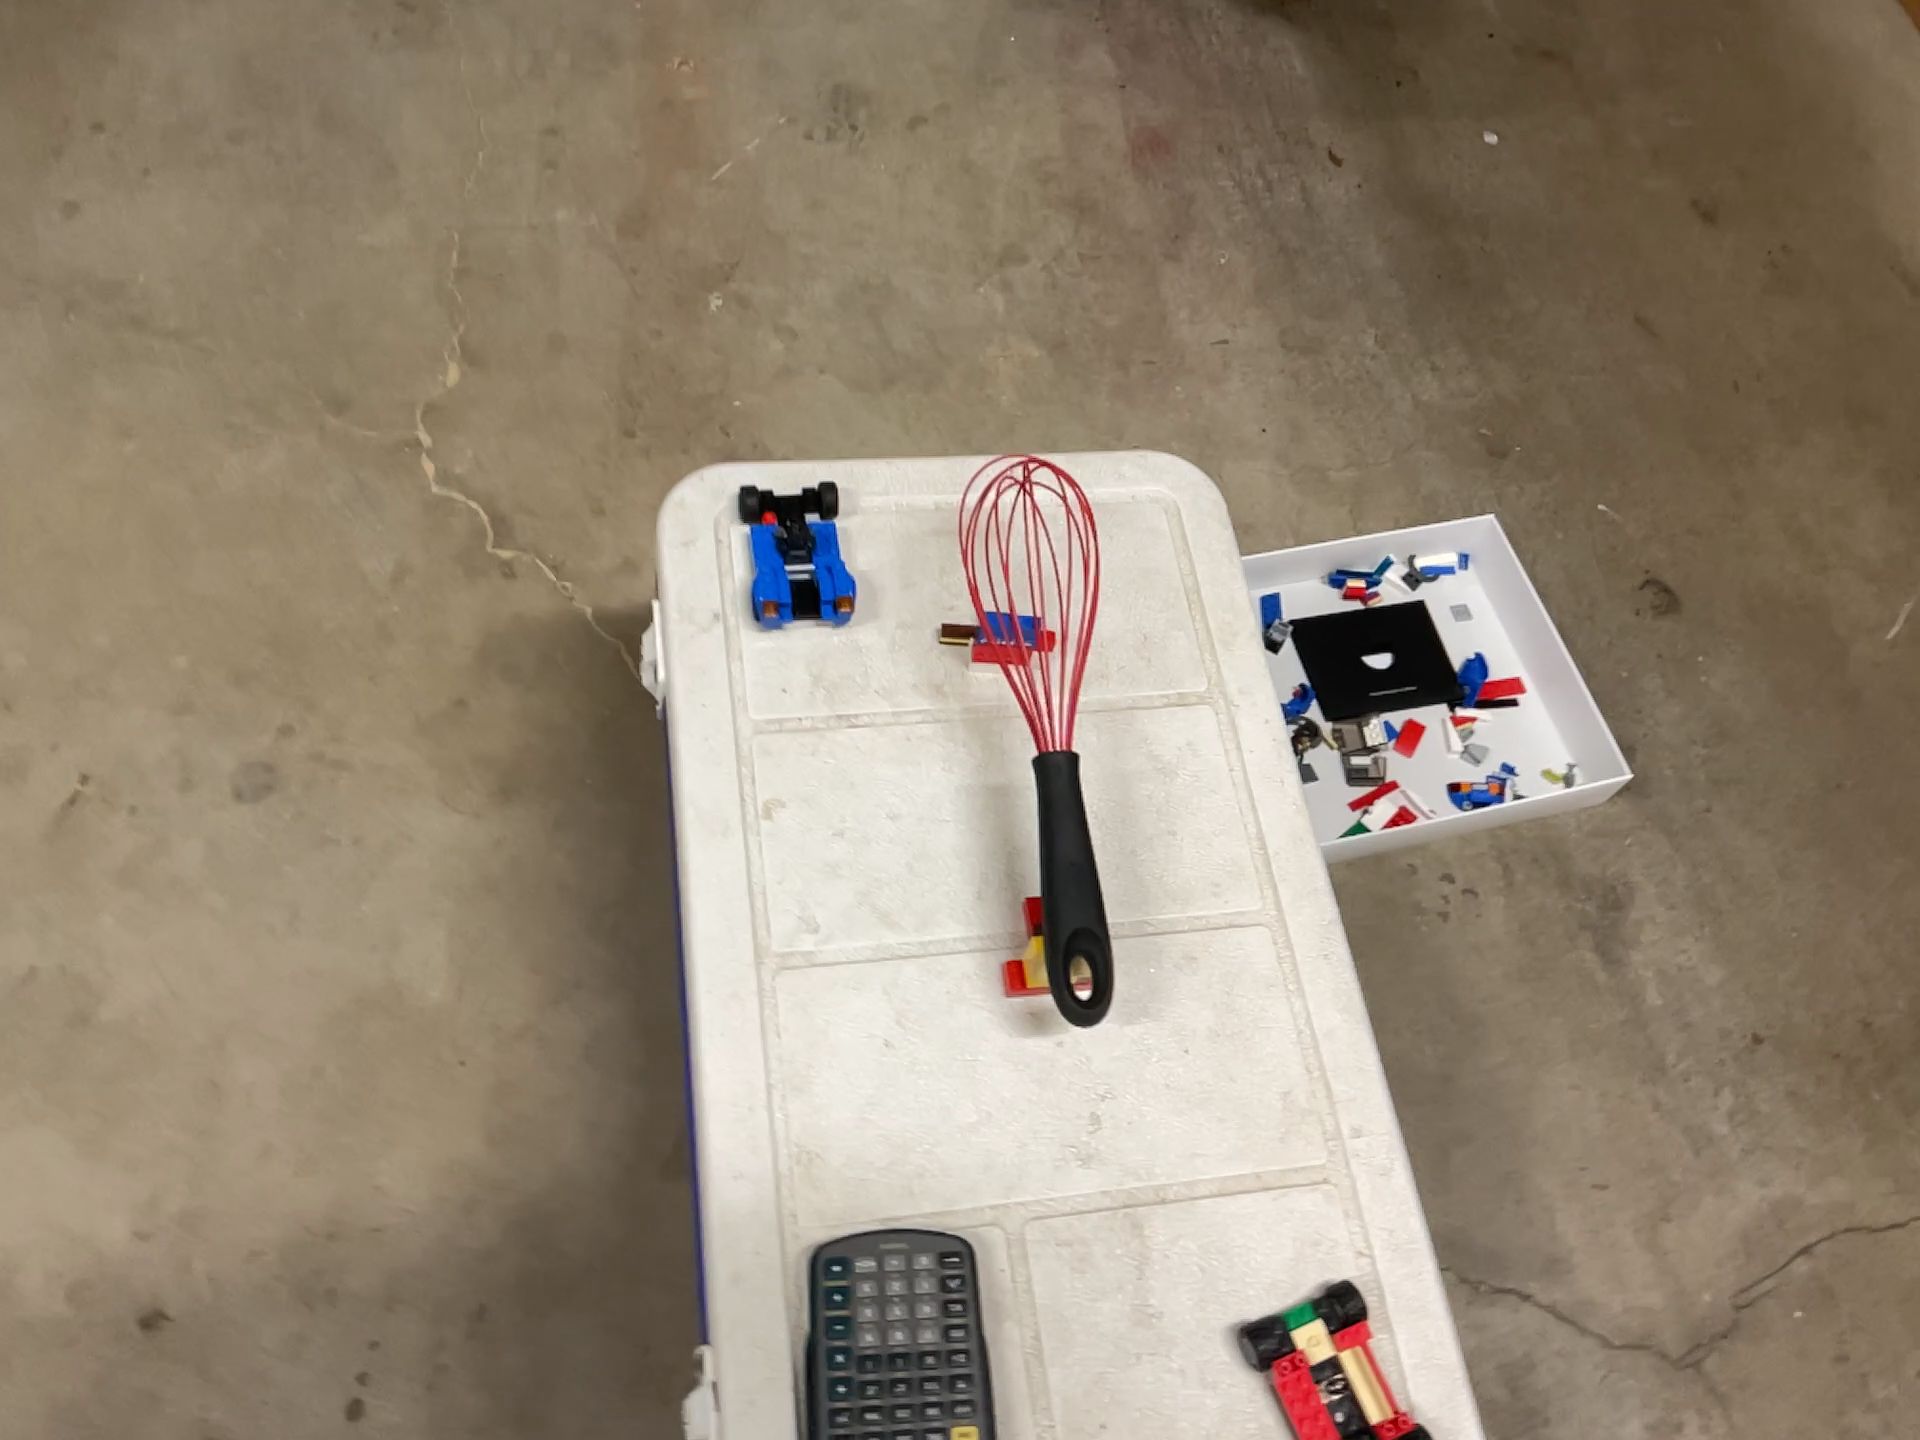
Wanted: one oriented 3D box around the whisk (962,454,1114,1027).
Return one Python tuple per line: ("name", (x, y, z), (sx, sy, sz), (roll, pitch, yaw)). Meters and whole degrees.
("whisk", (0.045, 0.001, 0.779), (0.073, 0.073, 0.296), (-1, 71, -14))
